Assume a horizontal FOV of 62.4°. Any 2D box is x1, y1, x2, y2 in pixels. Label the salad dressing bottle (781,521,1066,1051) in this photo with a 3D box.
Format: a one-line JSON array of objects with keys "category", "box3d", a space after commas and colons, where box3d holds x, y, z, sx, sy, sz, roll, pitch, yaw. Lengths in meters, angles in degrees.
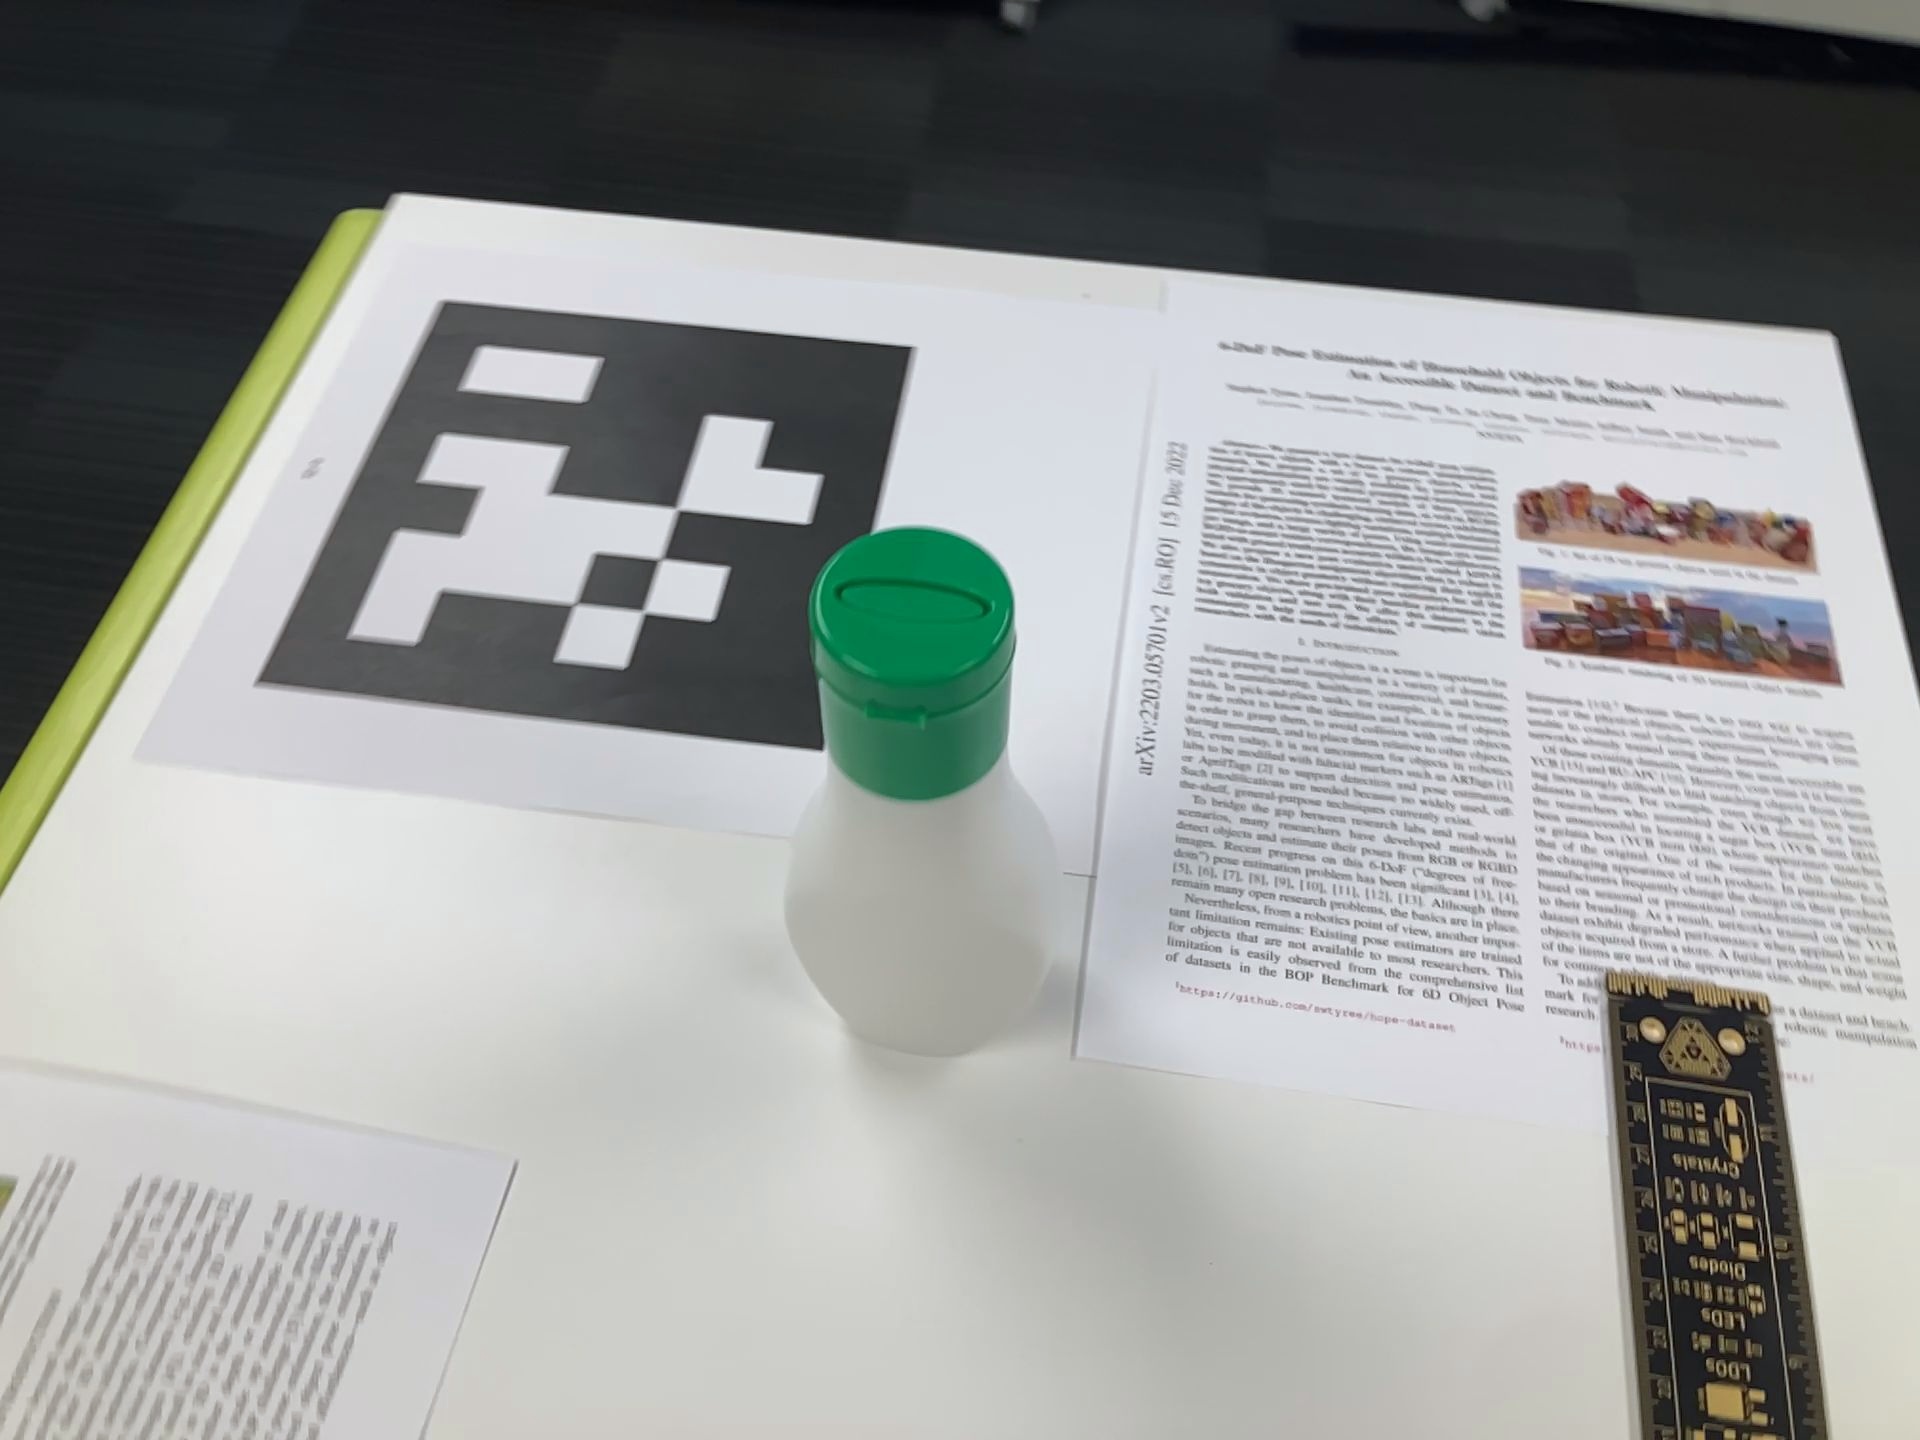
[{"category": "salad dressing bottle", "box3d": [-0.008, 0.020, 0.333, 0.064, 0.147, 0.044, 8, 56, 5]}]
